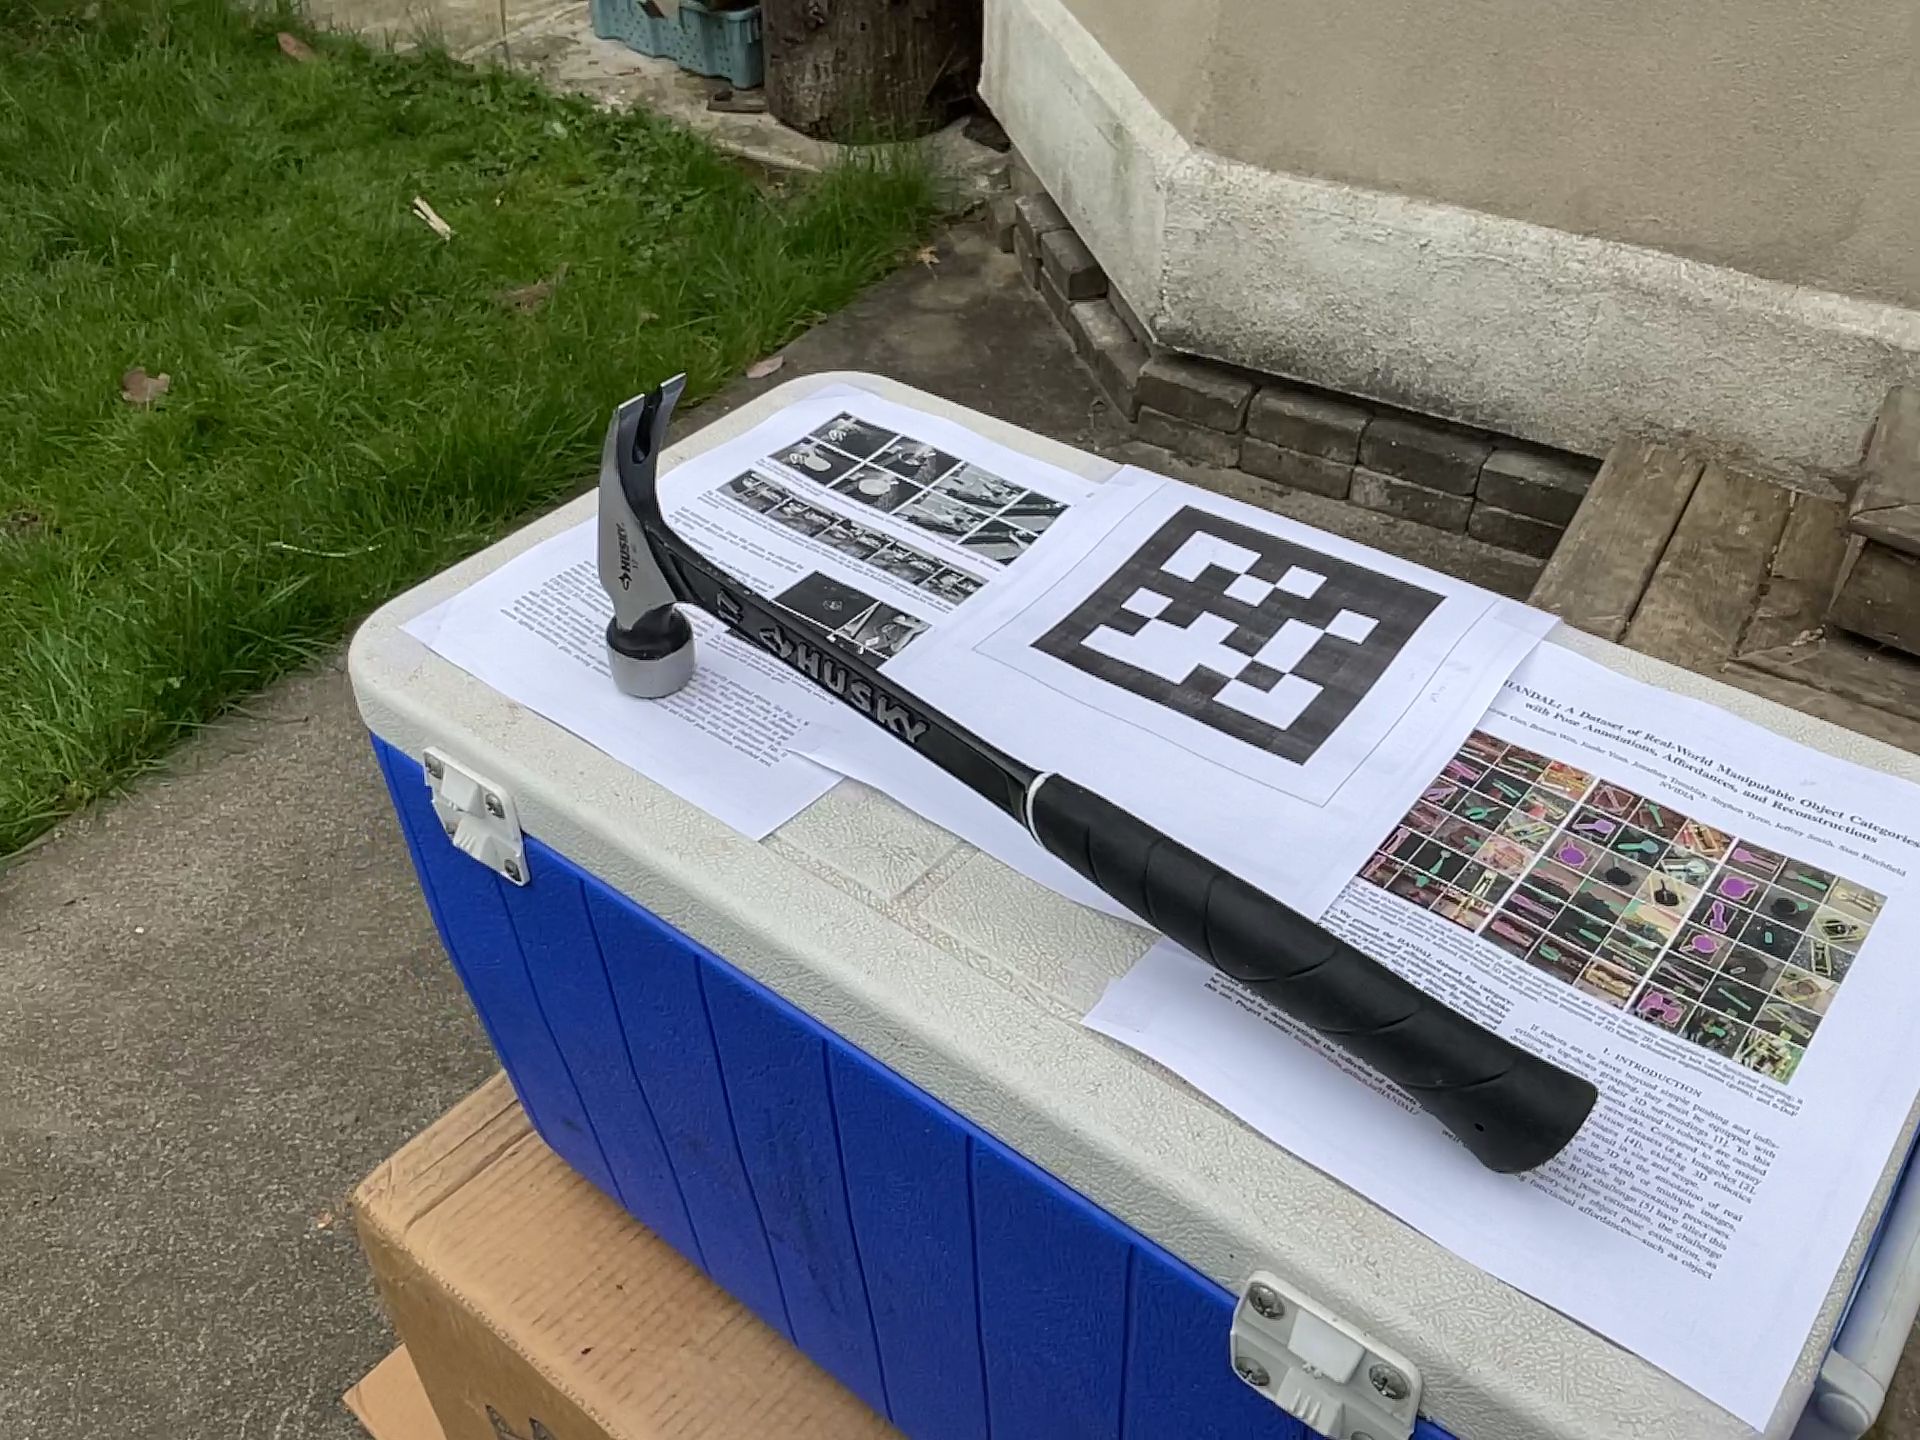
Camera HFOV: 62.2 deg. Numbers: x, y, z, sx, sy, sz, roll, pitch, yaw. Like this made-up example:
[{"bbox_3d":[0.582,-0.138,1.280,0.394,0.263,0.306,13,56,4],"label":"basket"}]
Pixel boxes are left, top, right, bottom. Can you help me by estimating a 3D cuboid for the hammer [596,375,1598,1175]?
[{"bbox_3d":[0.018,0.019,0.539,0.409,0.149,0.036,32,51,25],"label":"hammer"}]
